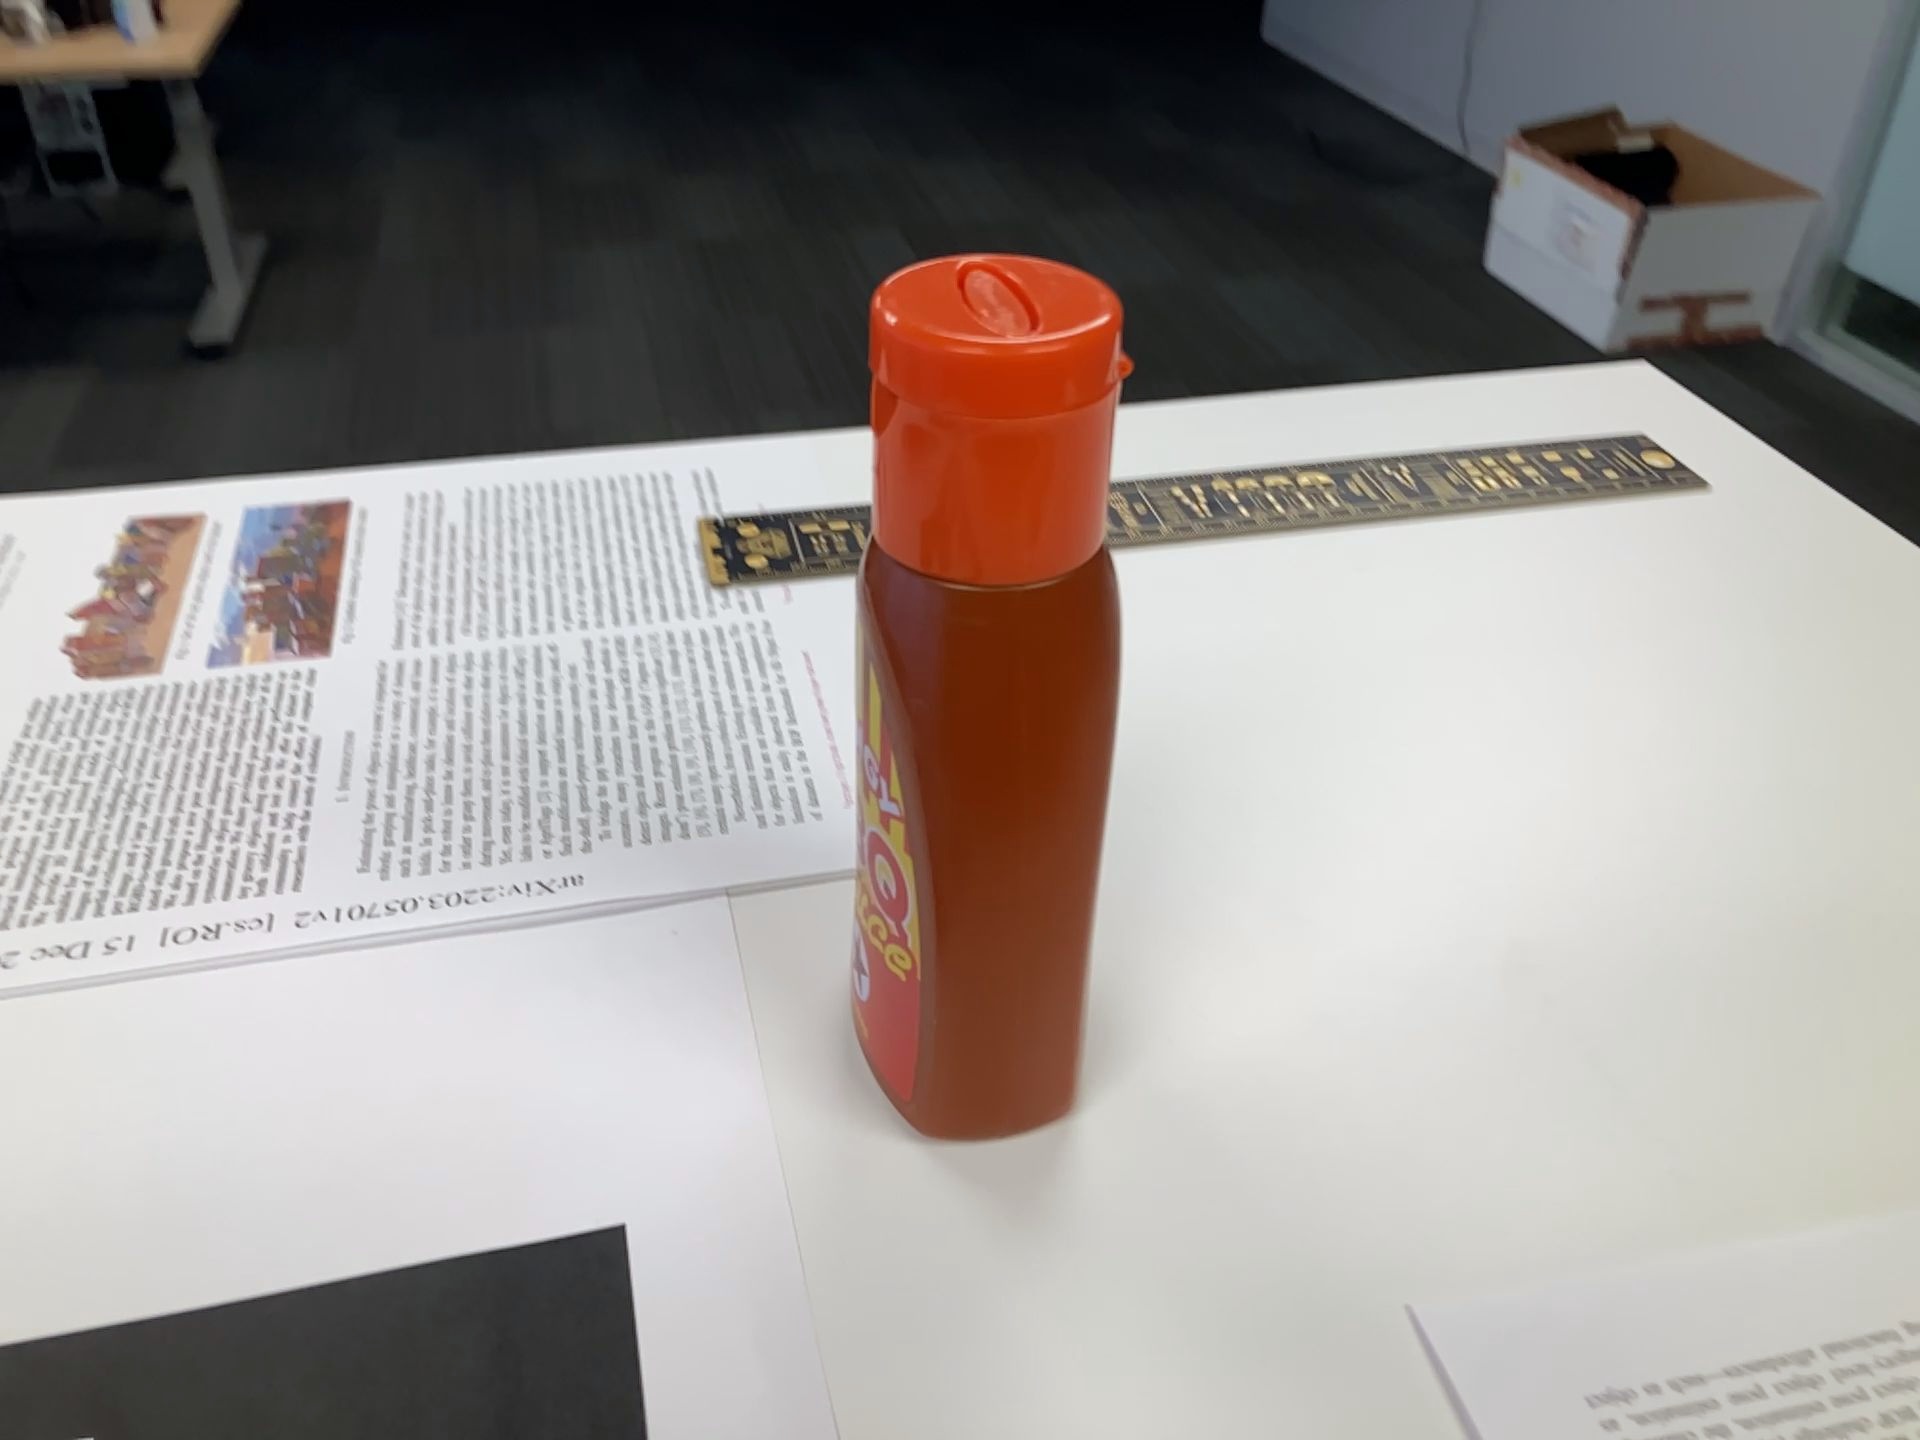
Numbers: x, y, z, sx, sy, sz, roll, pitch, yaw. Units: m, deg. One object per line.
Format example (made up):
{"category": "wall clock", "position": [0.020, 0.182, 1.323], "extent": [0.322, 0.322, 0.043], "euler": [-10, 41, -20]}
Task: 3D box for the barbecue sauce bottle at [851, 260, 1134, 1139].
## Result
{"category": "barbecue sauce bottle", "position": [0.003, 0.000, 0.270], "extent": [0.043, 0.148, 0.065], "euler": [-6, 37, -11]}
